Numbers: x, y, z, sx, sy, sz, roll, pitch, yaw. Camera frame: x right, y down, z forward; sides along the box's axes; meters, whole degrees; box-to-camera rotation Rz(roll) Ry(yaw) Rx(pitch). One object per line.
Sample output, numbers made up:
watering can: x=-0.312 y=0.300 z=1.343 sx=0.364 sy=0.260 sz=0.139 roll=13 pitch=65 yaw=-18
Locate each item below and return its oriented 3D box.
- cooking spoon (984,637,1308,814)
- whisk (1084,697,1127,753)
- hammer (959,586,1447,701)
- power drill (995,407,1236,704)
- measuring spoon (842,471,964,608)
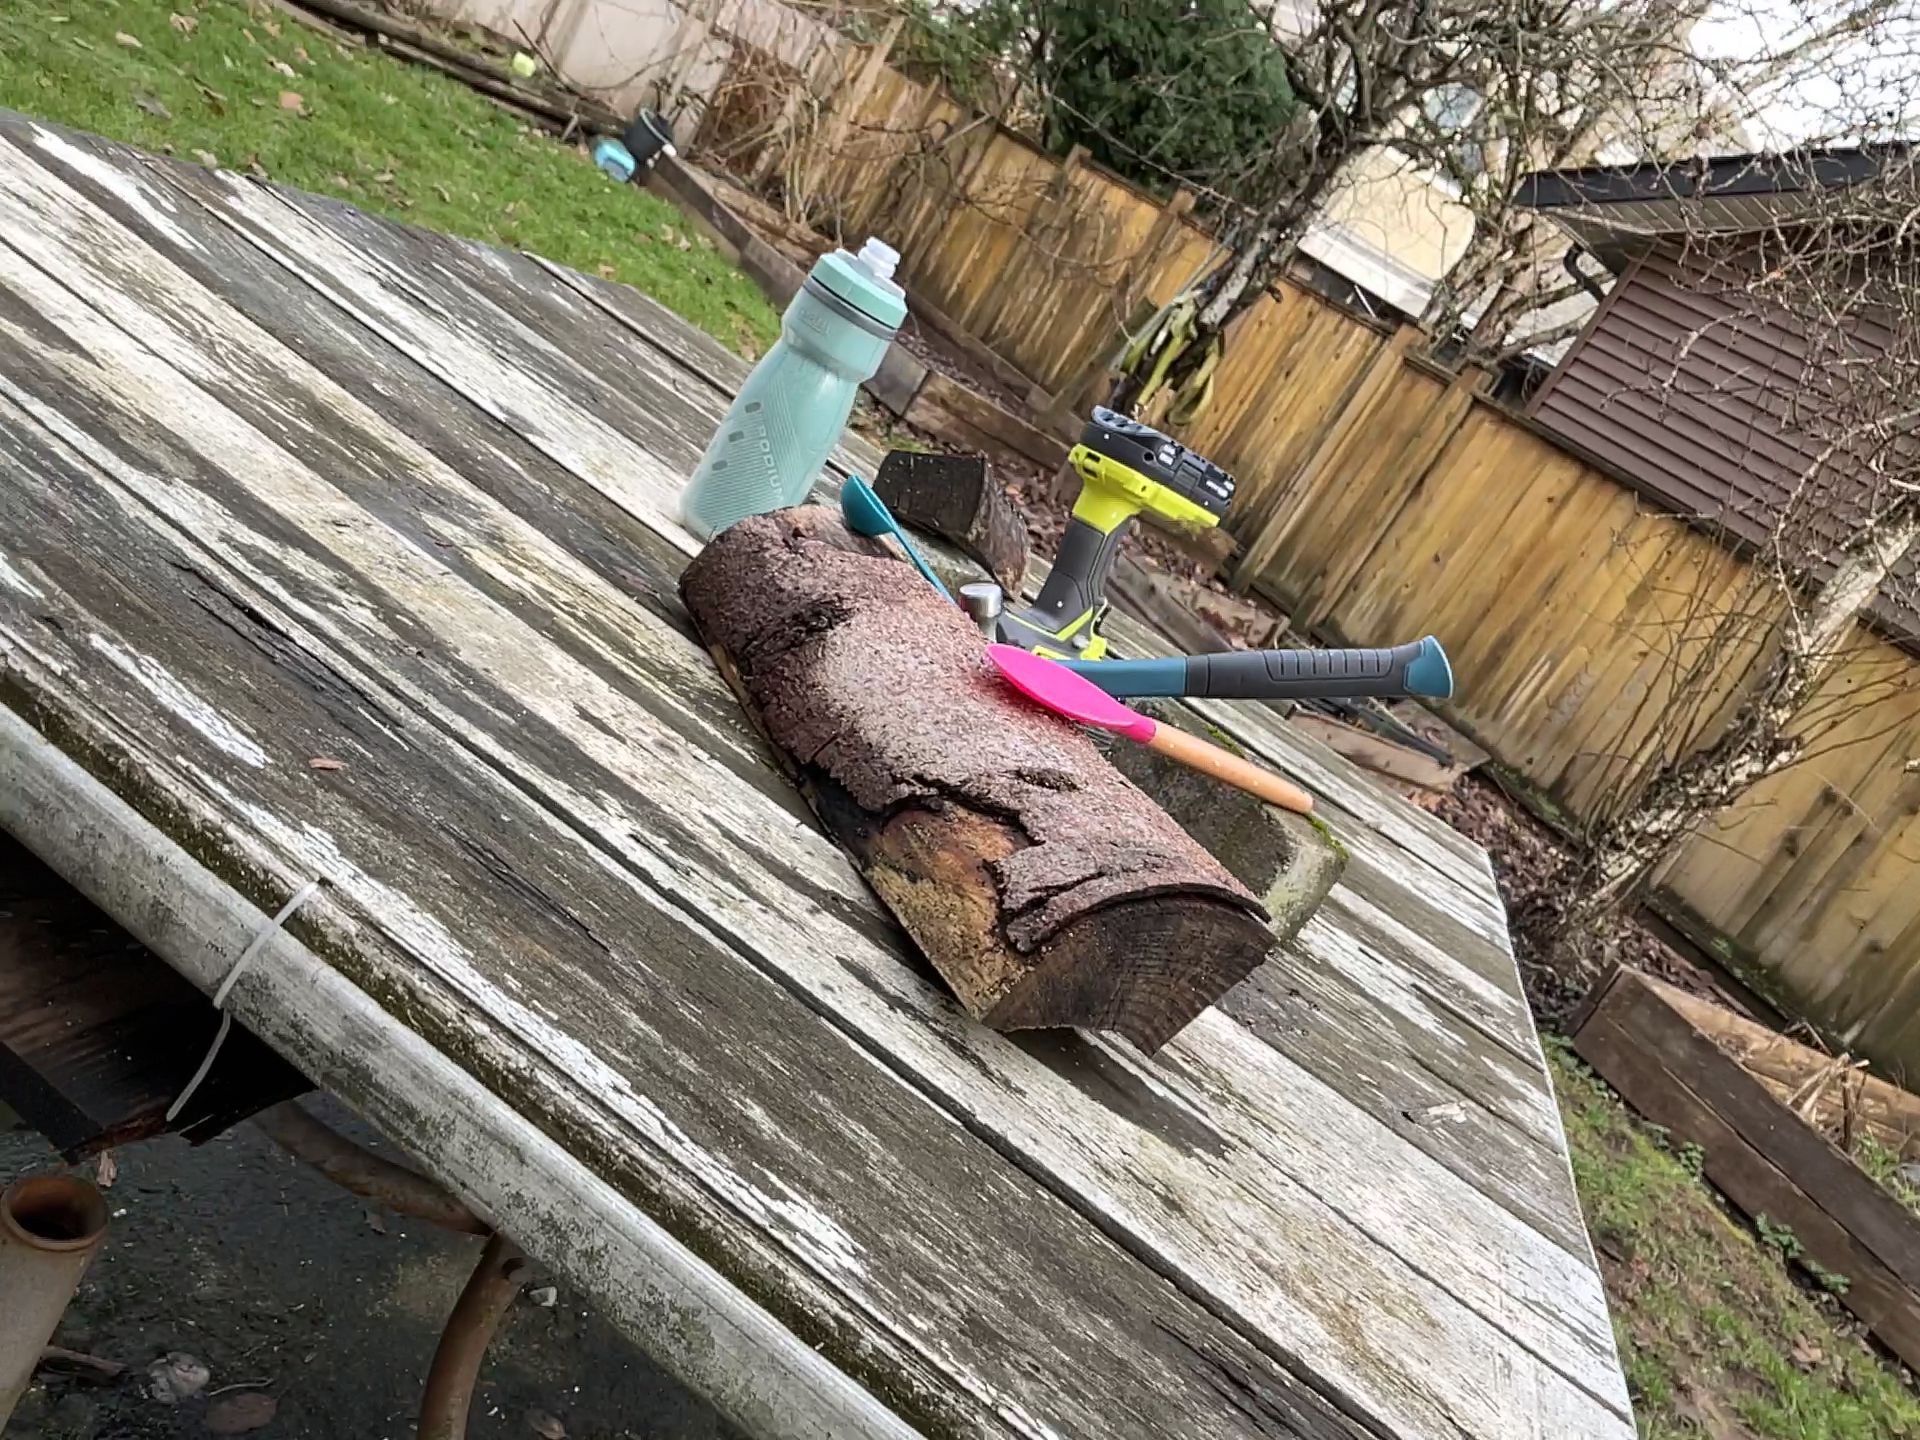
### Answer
cooking spoon: x=0.121 y=0.012 z=0.925 sx=0.318 sy=0.017 sz=0.069 roll=23 pitch=16 yaw=-46
whisk: x=0.141 y=0.016 z=1.204 sx=0.238 sy=0.055 sz=0.055 roll=20 pitch=27 yaw=-48
hammer: x=0.165 y=-0.030 z=1.074 sx=0.331 sy=0.128 sz=0.033 roll=-1 pitch=22 yaw=-3
power drill: x=0.110 y=-0.108 z=1.217 sx=0.171 sy=0.223 sz=0.080 roll=19 pitch=13 yaw=-46
measuring spoon: x=-0.032 y=-0.094 z=0.966 sx=0.128 sy=0.021 sz=0.042 roll=52 pitch=10 yaw=-14
